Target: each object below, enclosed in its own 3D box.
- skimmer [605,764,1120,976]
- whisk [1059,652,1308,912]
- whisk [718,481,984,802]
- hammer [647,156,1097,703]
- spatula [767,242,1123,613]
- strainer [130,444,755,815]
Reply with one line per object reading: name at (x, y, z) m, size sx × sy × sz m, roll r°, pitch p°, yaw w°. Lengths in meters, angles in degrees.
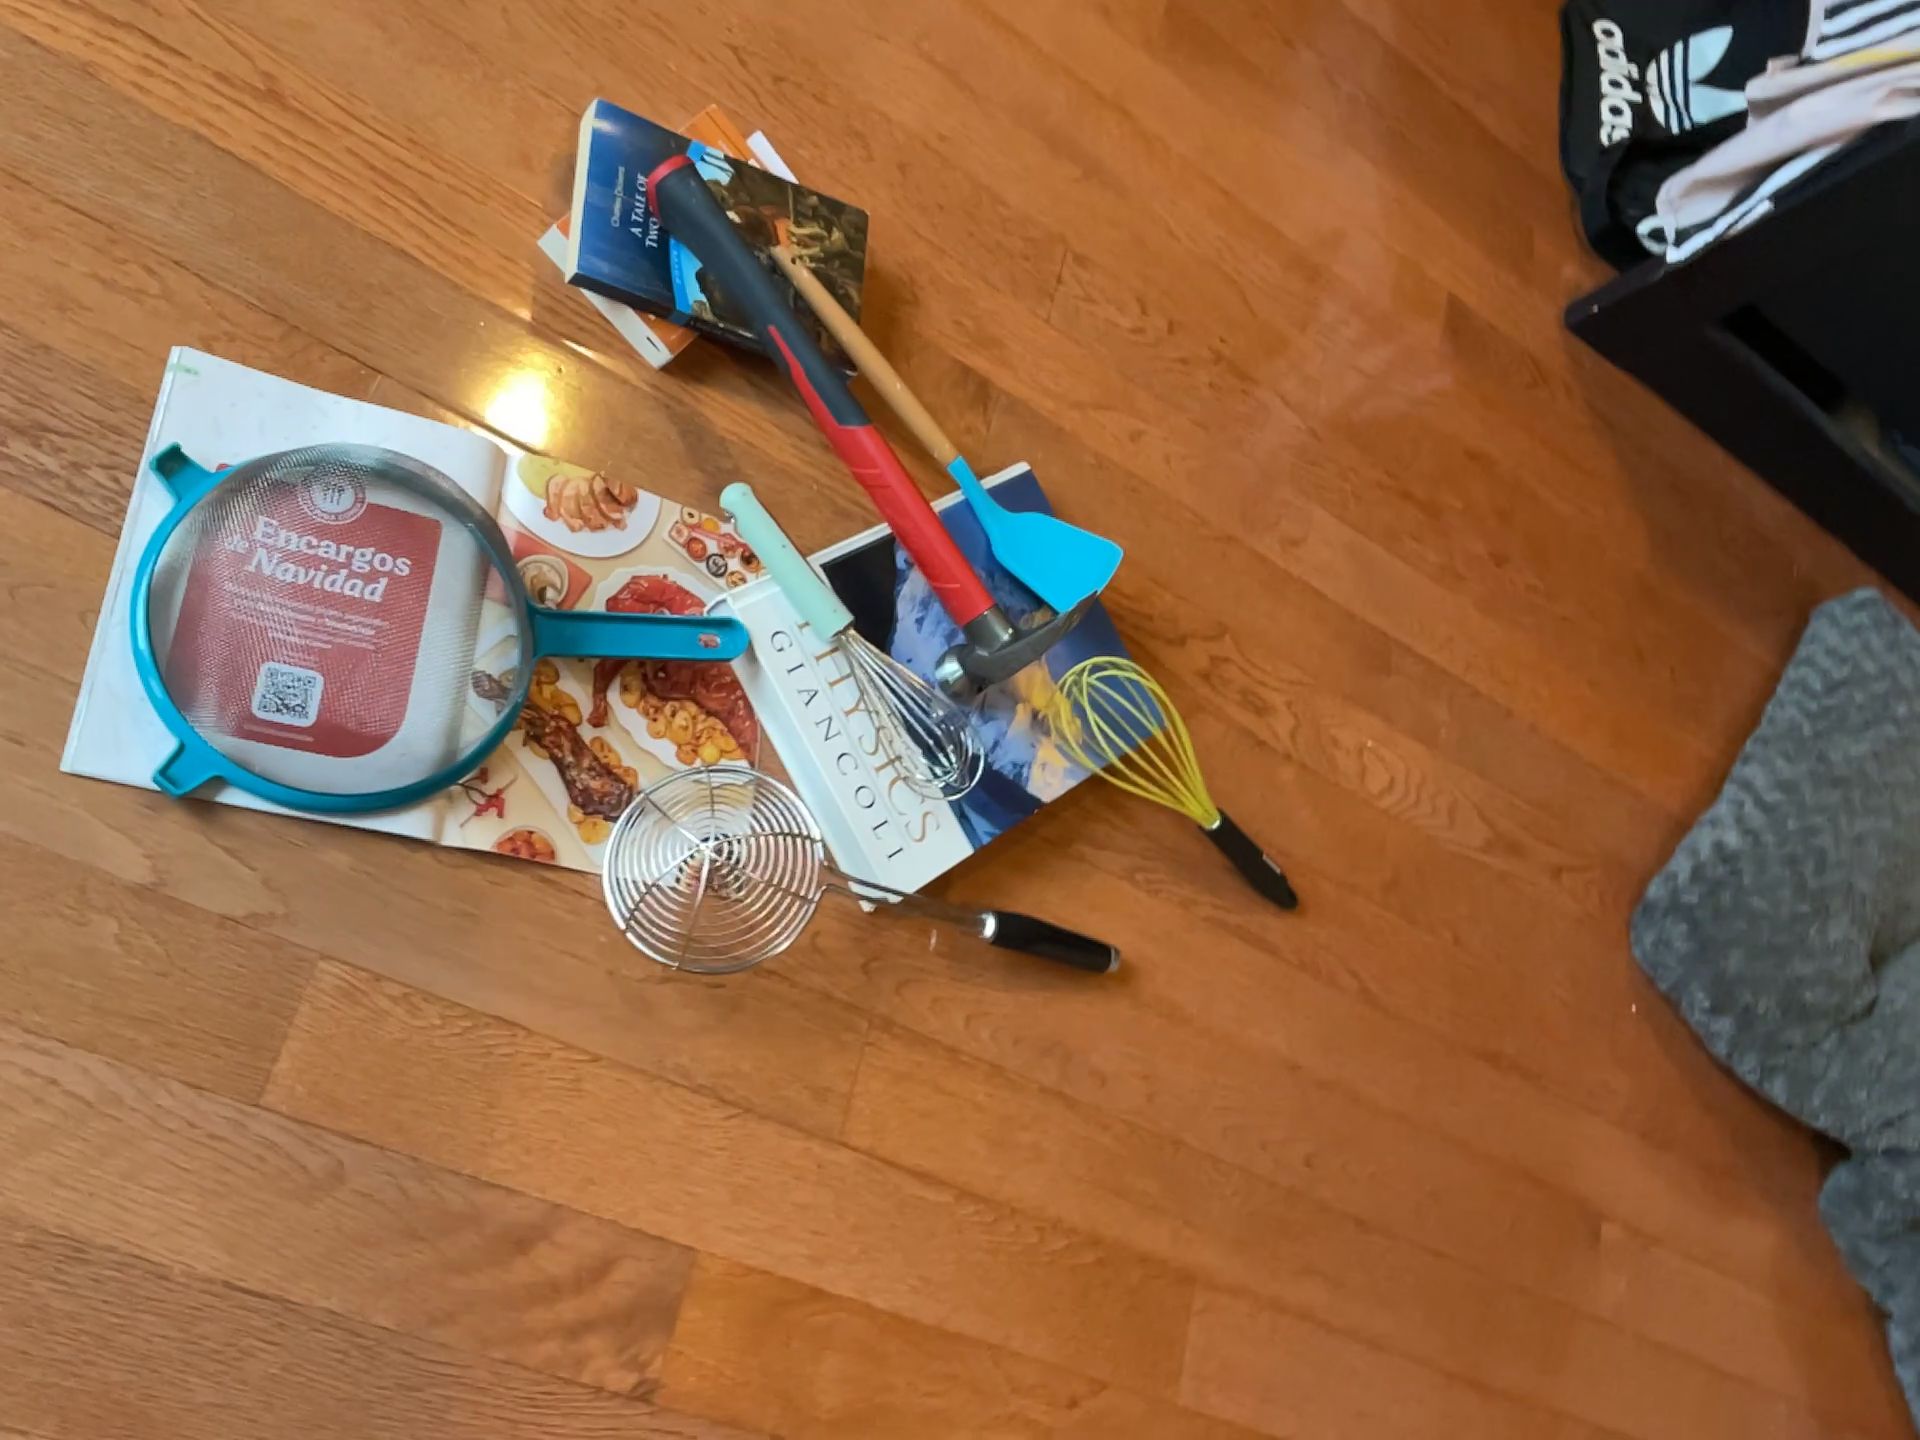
skimmer at (-0.047, 0.123, 1.016) m, size 0.363 × 0.090 × 0.127 m, roll 22°, pitch 61°, yaw -39°
whisk at (0.168, 0.058, 1.145) m, size 0.311 × 0.067 × 0.080 m, roll 42°, pitch 39°, yaw -33°
whisk at (-0.071, -0.050, 1.006) m, size 0.059 × 0.058 × 0.246 m, roll -38°, pitch 93°, yaw -6°
hammer at (-0.066, -0.195, 1.004) m, size 0.038 × 0.143 × 0.386 m, roll -38°, pitch 94°, yaw -40°
spatula at (-0.017, -0.203, 1.089) m, size 0.317 × 0.044 × 0.082 m, roll 48°, pitch 56°, yaw -12°
strainer at (-0.265, -0.062, 0.876) m, size 0.340 × 0.095 × 0.211 m, roll 0°, pitch 74°, yaw -27°
